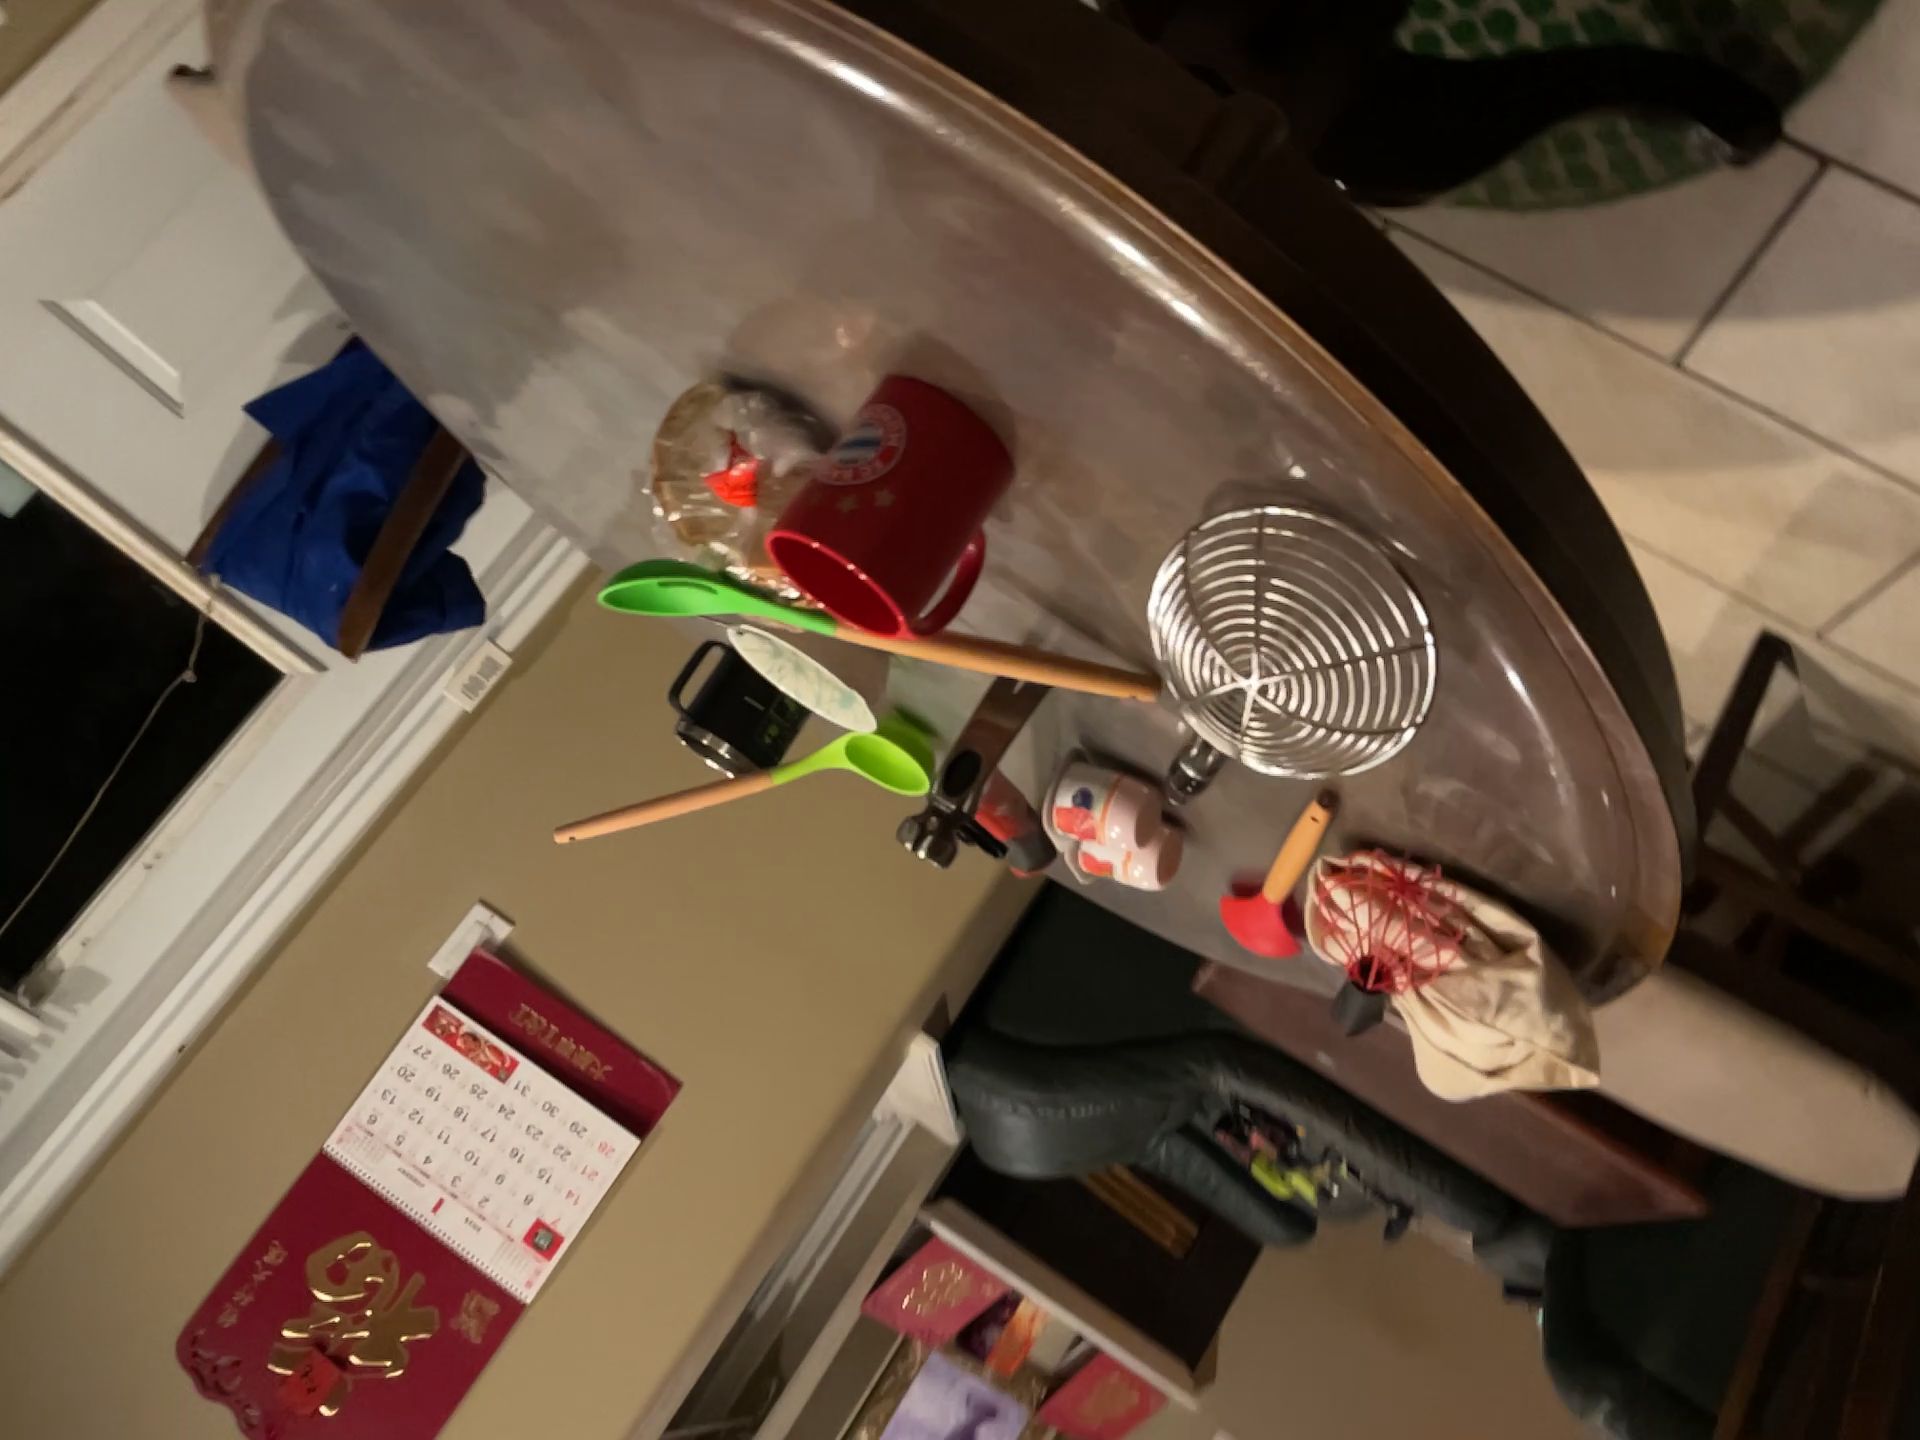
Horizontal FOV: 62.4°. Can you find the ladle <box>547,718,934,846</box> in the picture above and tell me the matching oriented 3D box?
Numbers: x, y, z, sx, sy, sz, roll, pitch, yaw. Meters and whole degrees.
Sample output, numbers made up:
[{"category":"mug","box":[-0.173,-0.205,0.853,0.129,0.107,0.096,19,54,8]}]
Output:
[{"category":"ladle","box":[-0.177,0.063,1.265,0.078,0.320,0.062,70,-174,-48]}]

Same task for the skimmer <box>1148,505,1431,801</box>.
[{"category":"skimmer","box":[0.144,-0.010,0.800,0.127,0.090,0.363,40,176,9]}]

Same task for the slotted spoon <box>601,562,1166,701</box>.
[{"category":"slotted spoon","box":[-0.041,-0.047,0.876,0.313,0.031,0.070,11,168,-1]}]

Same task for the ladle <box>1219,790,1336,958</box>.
[{"category":"ladle","box":[0.208,0.103,1.017,0.069,0.031,0.315,30,162,14]}]

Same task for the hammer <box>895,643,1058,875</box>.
[{"category":"hammer","box":[0.042,0.053,1.112,0.038,0.143,0.386,32,176,14]}]

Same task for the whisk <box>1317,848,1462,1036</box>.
[{"category":"whisk","box":[0.231,0.137,0.883,0.073,0.073,0.295,27,164,19]}]
